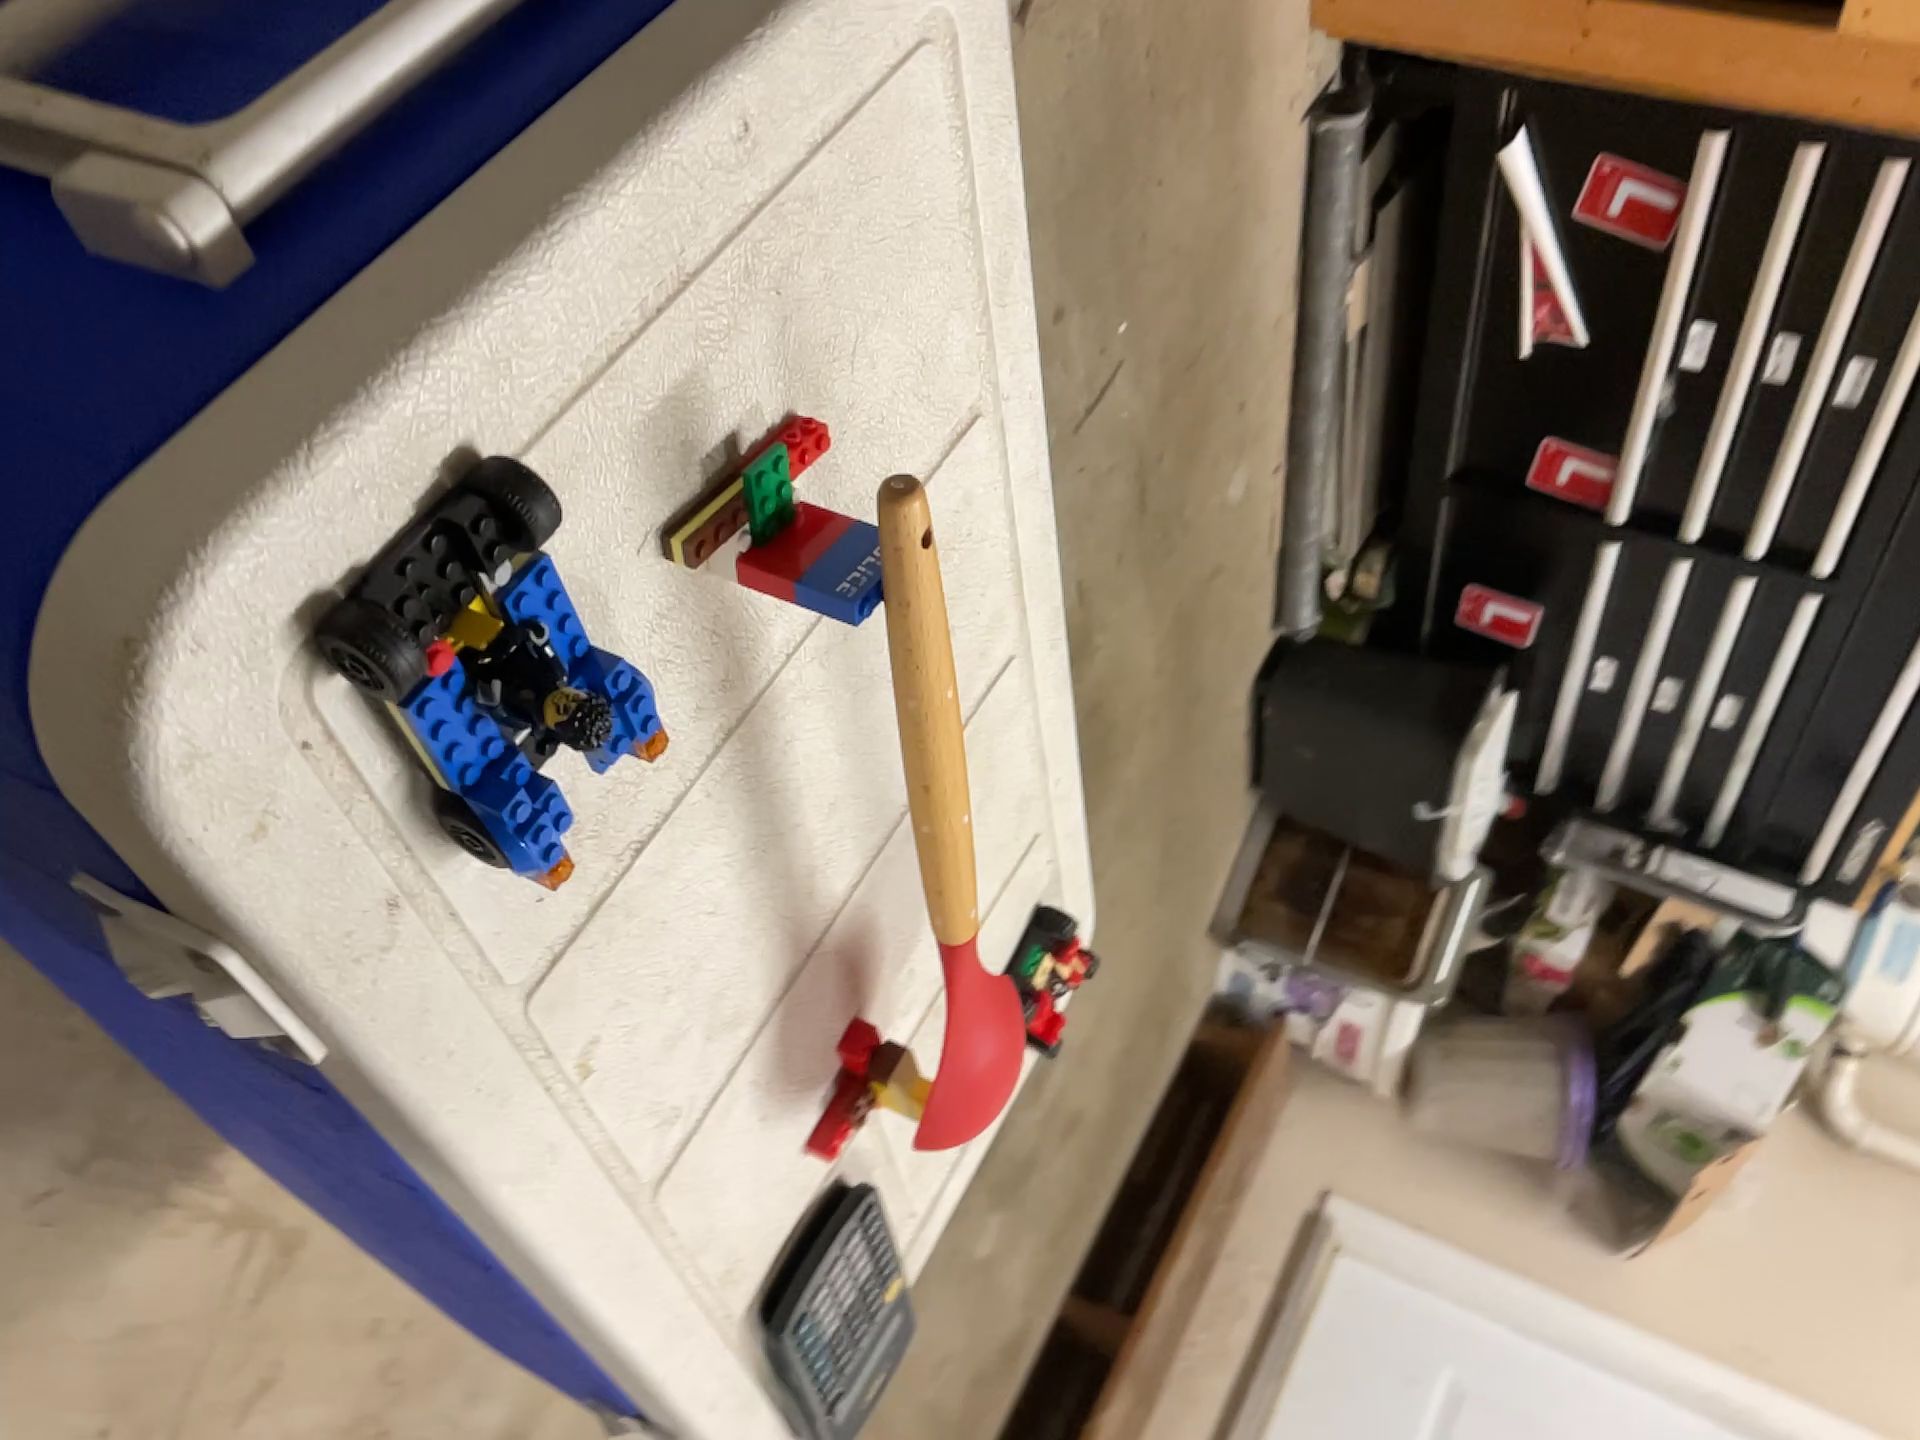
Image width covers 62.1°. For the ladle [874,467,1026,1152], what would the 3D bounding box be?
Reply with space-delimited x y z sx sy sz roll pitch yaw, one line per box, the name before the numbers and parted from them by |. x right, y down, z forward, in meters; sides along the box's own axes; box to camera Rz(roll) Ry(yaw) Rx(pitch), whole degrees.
ladle | -0.004 0.049 0.504 0.069 0.031 0.315 -52 151 -35
